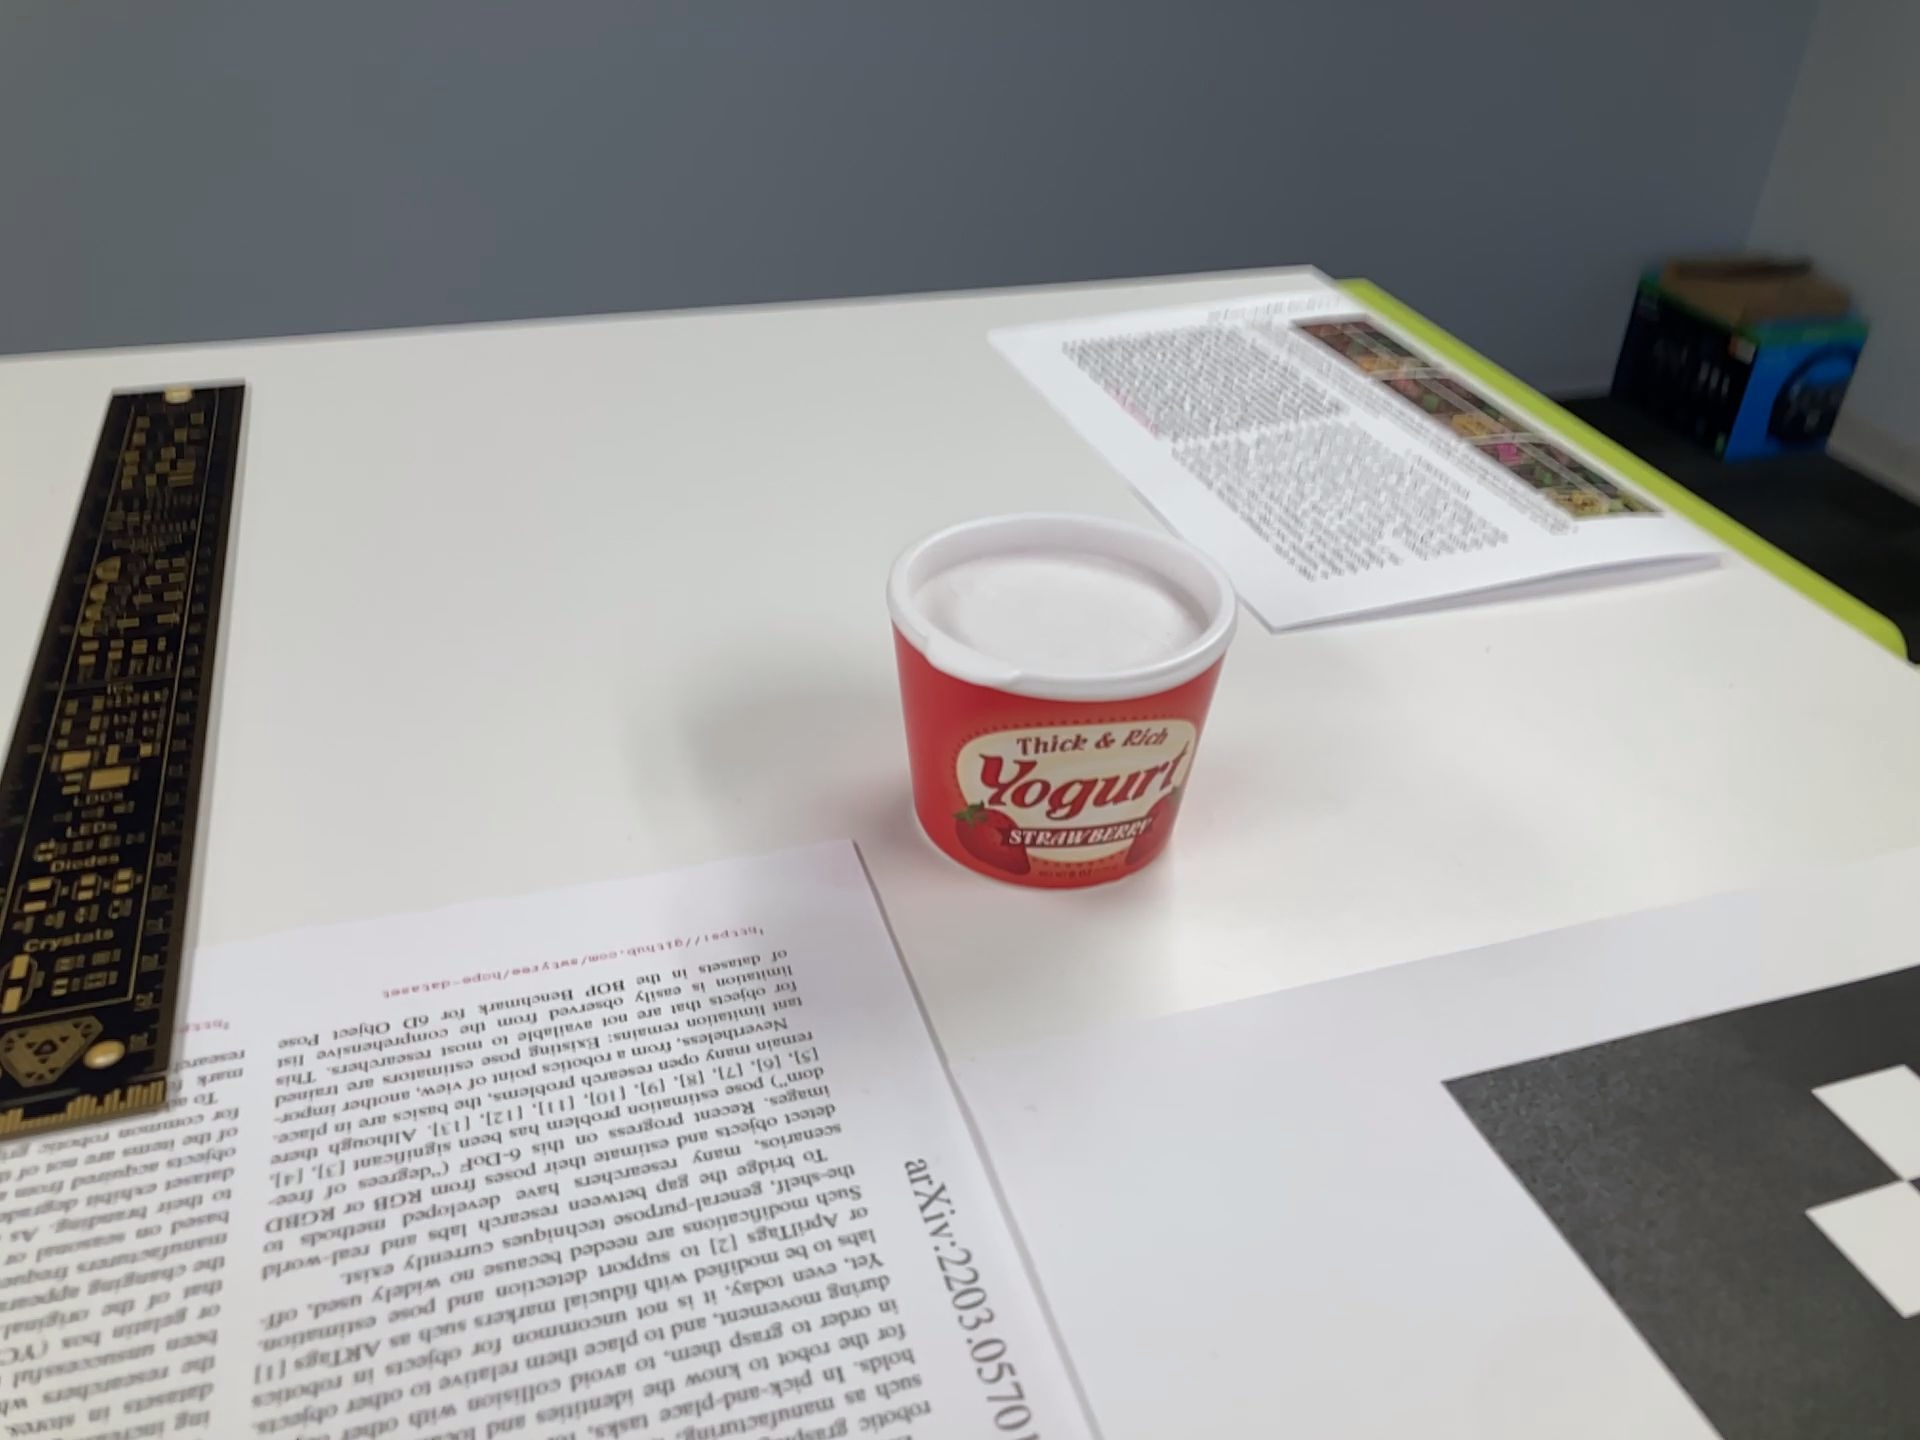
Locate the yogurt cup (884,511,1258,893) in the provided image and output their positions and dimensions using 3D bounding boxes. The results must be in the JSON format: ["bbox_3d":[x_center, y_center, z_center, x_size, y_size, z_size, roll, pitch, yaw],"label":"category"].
[{"bbox_3d":[0.018,-0.003,0.312,0.072,0.054,0.072,2,32,-1],"label":"yogurt cup"}]
